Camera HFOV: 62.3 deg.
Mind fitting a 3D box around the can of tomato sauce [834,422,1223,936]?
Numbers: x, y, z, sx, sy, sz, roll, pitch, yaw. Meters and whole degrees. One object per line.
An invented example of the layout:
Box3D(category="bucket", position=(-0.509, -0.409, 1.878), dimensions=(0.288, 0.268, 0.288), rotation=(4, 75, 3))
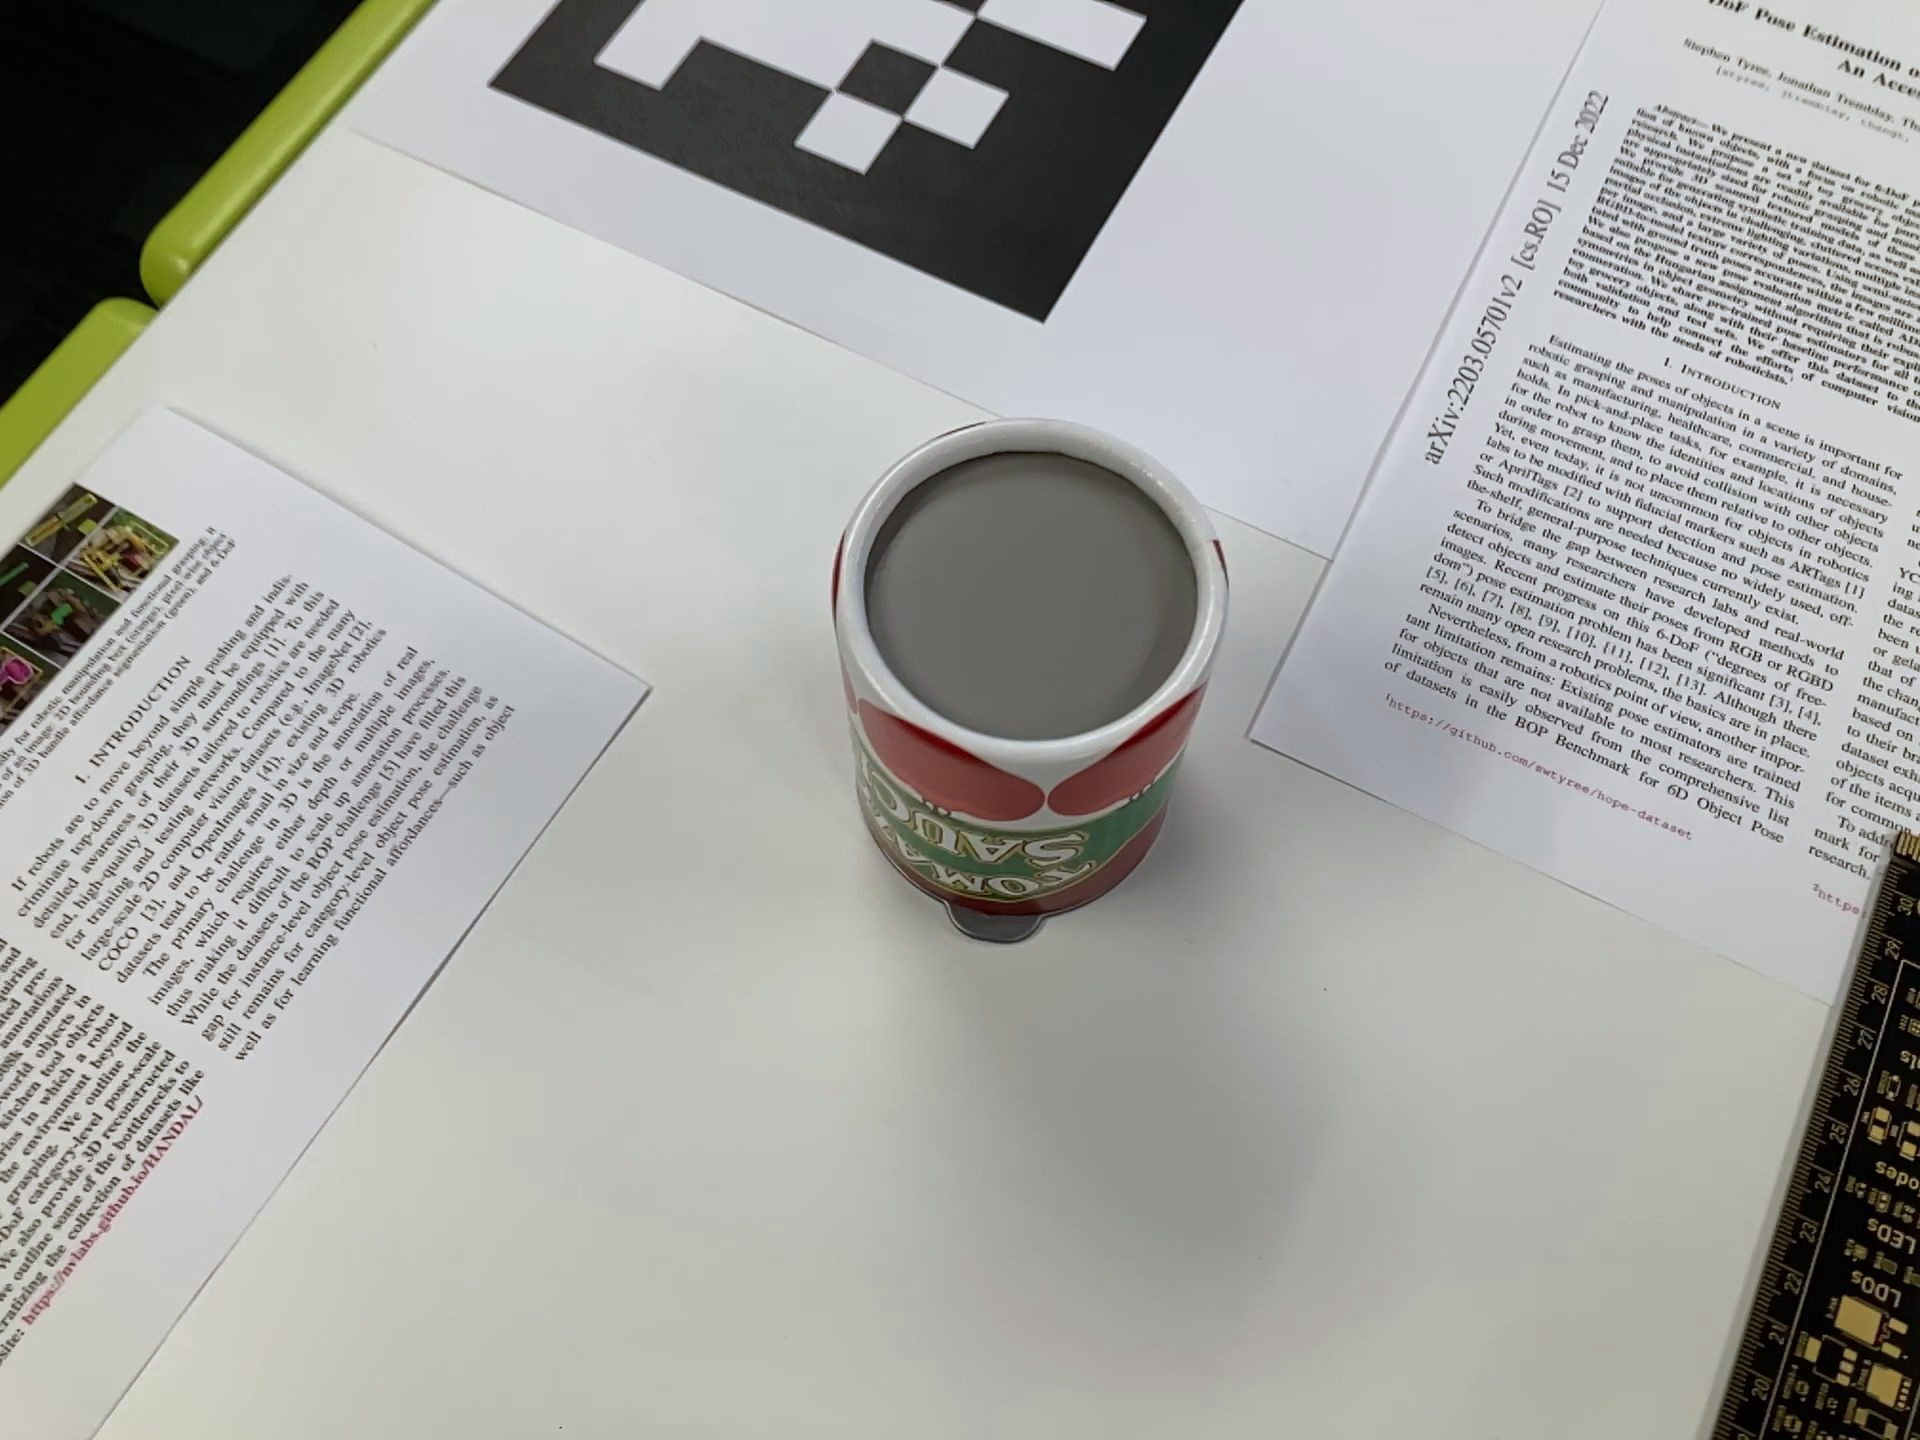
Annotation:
Box3D(category="can of tomato sauce", position=(0.009, -0.005, 0.299), dimensions=(0.071, 0.083, 0.071), rotation=(1, 68, -1))
